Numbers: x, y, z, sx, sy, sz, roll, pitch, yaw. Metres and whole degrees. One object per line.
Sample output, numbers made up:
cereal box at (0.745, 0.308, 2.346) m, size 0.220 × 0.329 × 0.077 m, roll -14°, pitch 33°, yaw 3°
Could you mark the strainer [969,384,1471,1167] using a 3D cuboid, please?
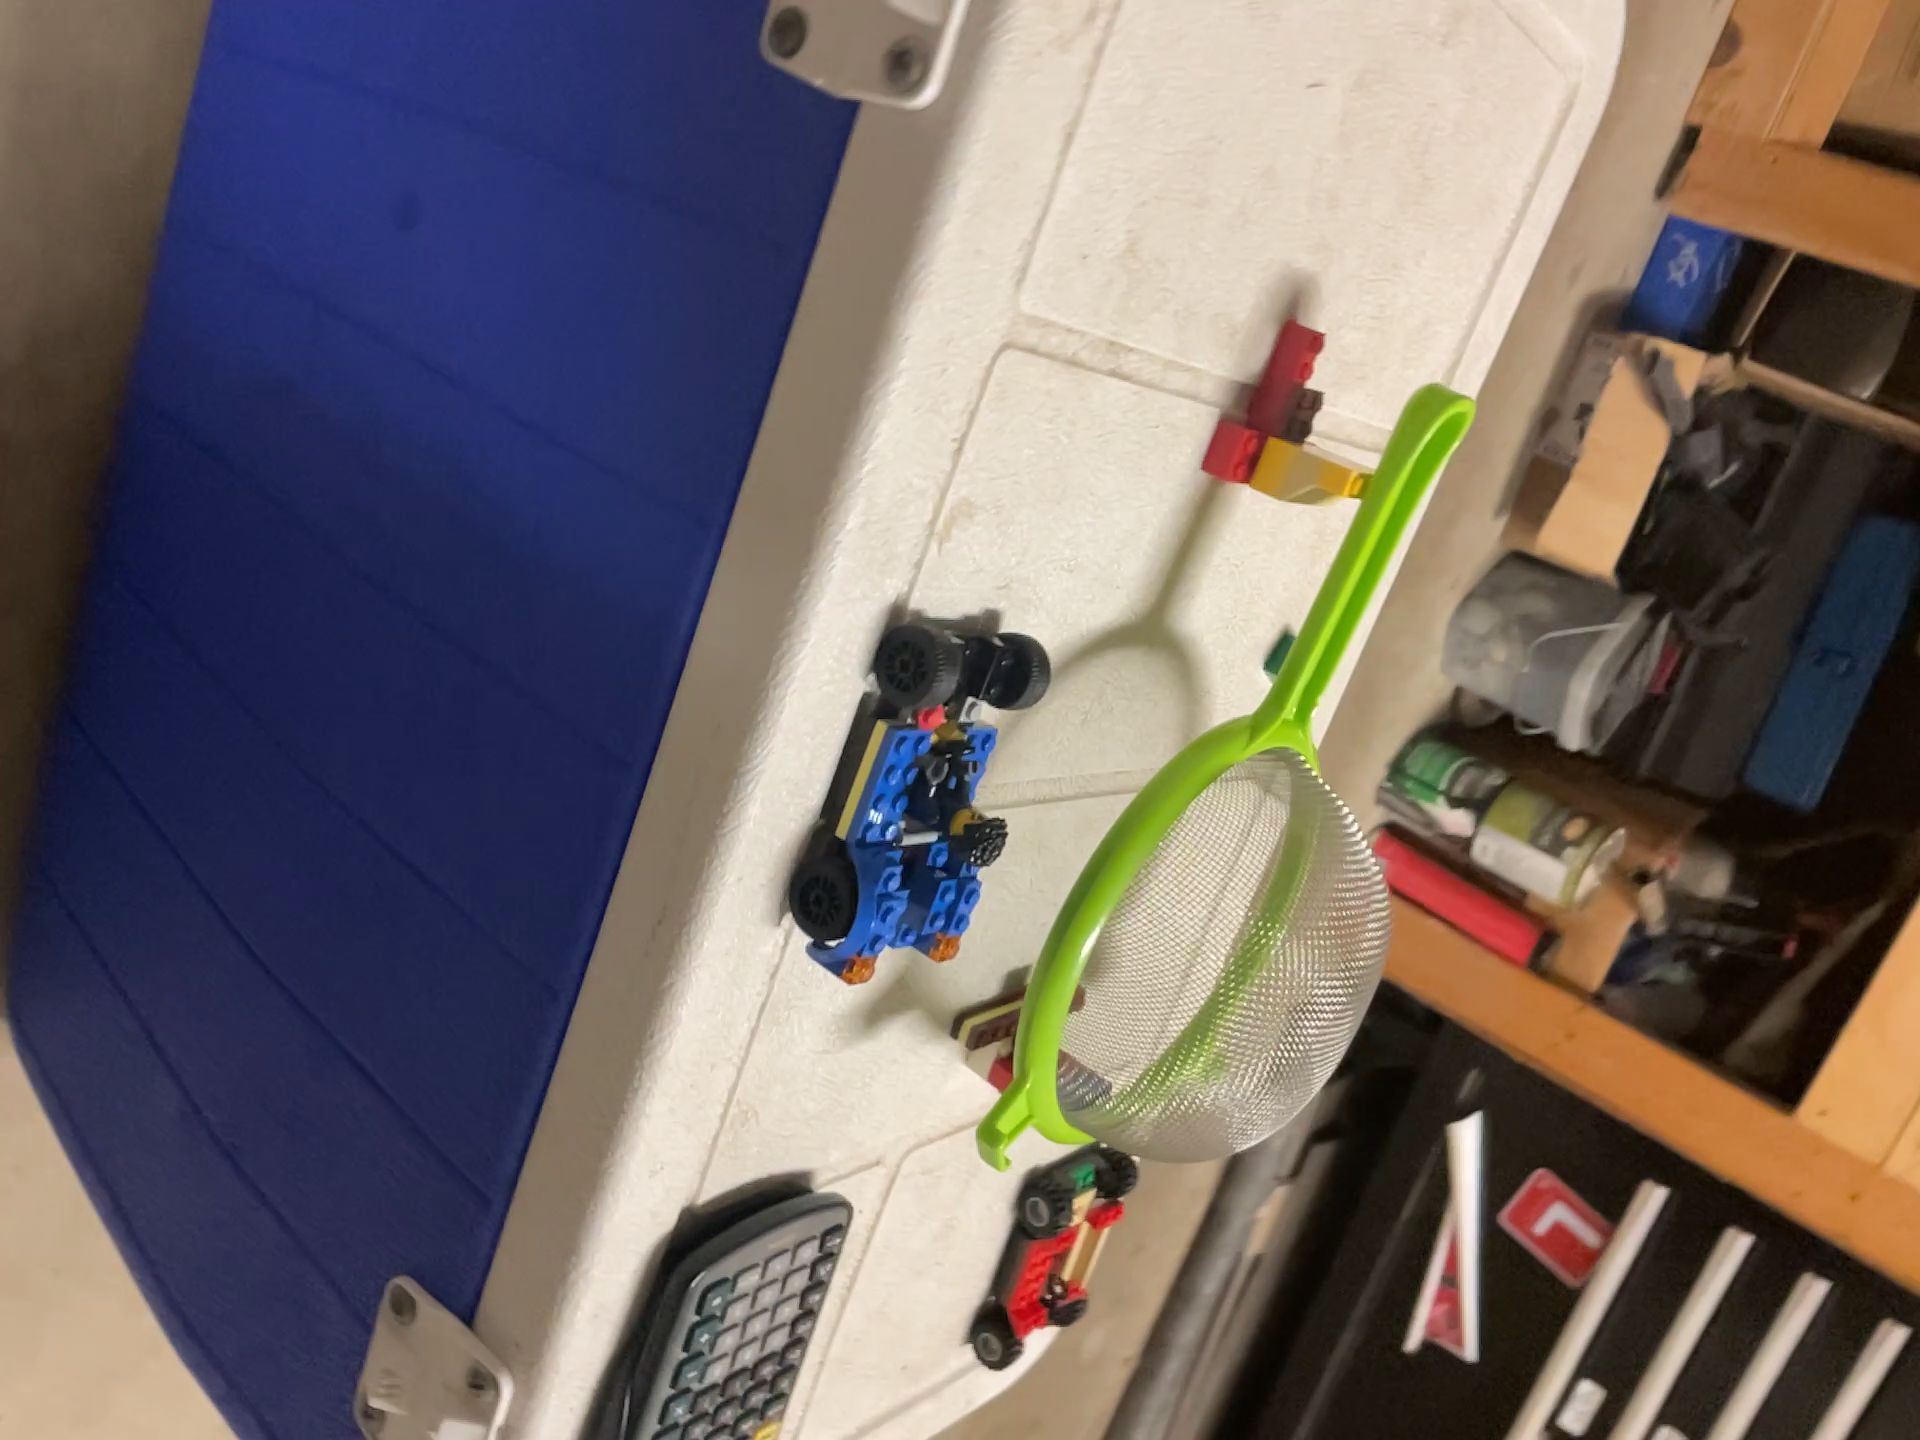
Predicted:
strainer at (0.108, 0.031, 0.476) m, size 0.151 × 0.069 × 0.256 m, roll 3°, pitch 114°, yaw -54°
